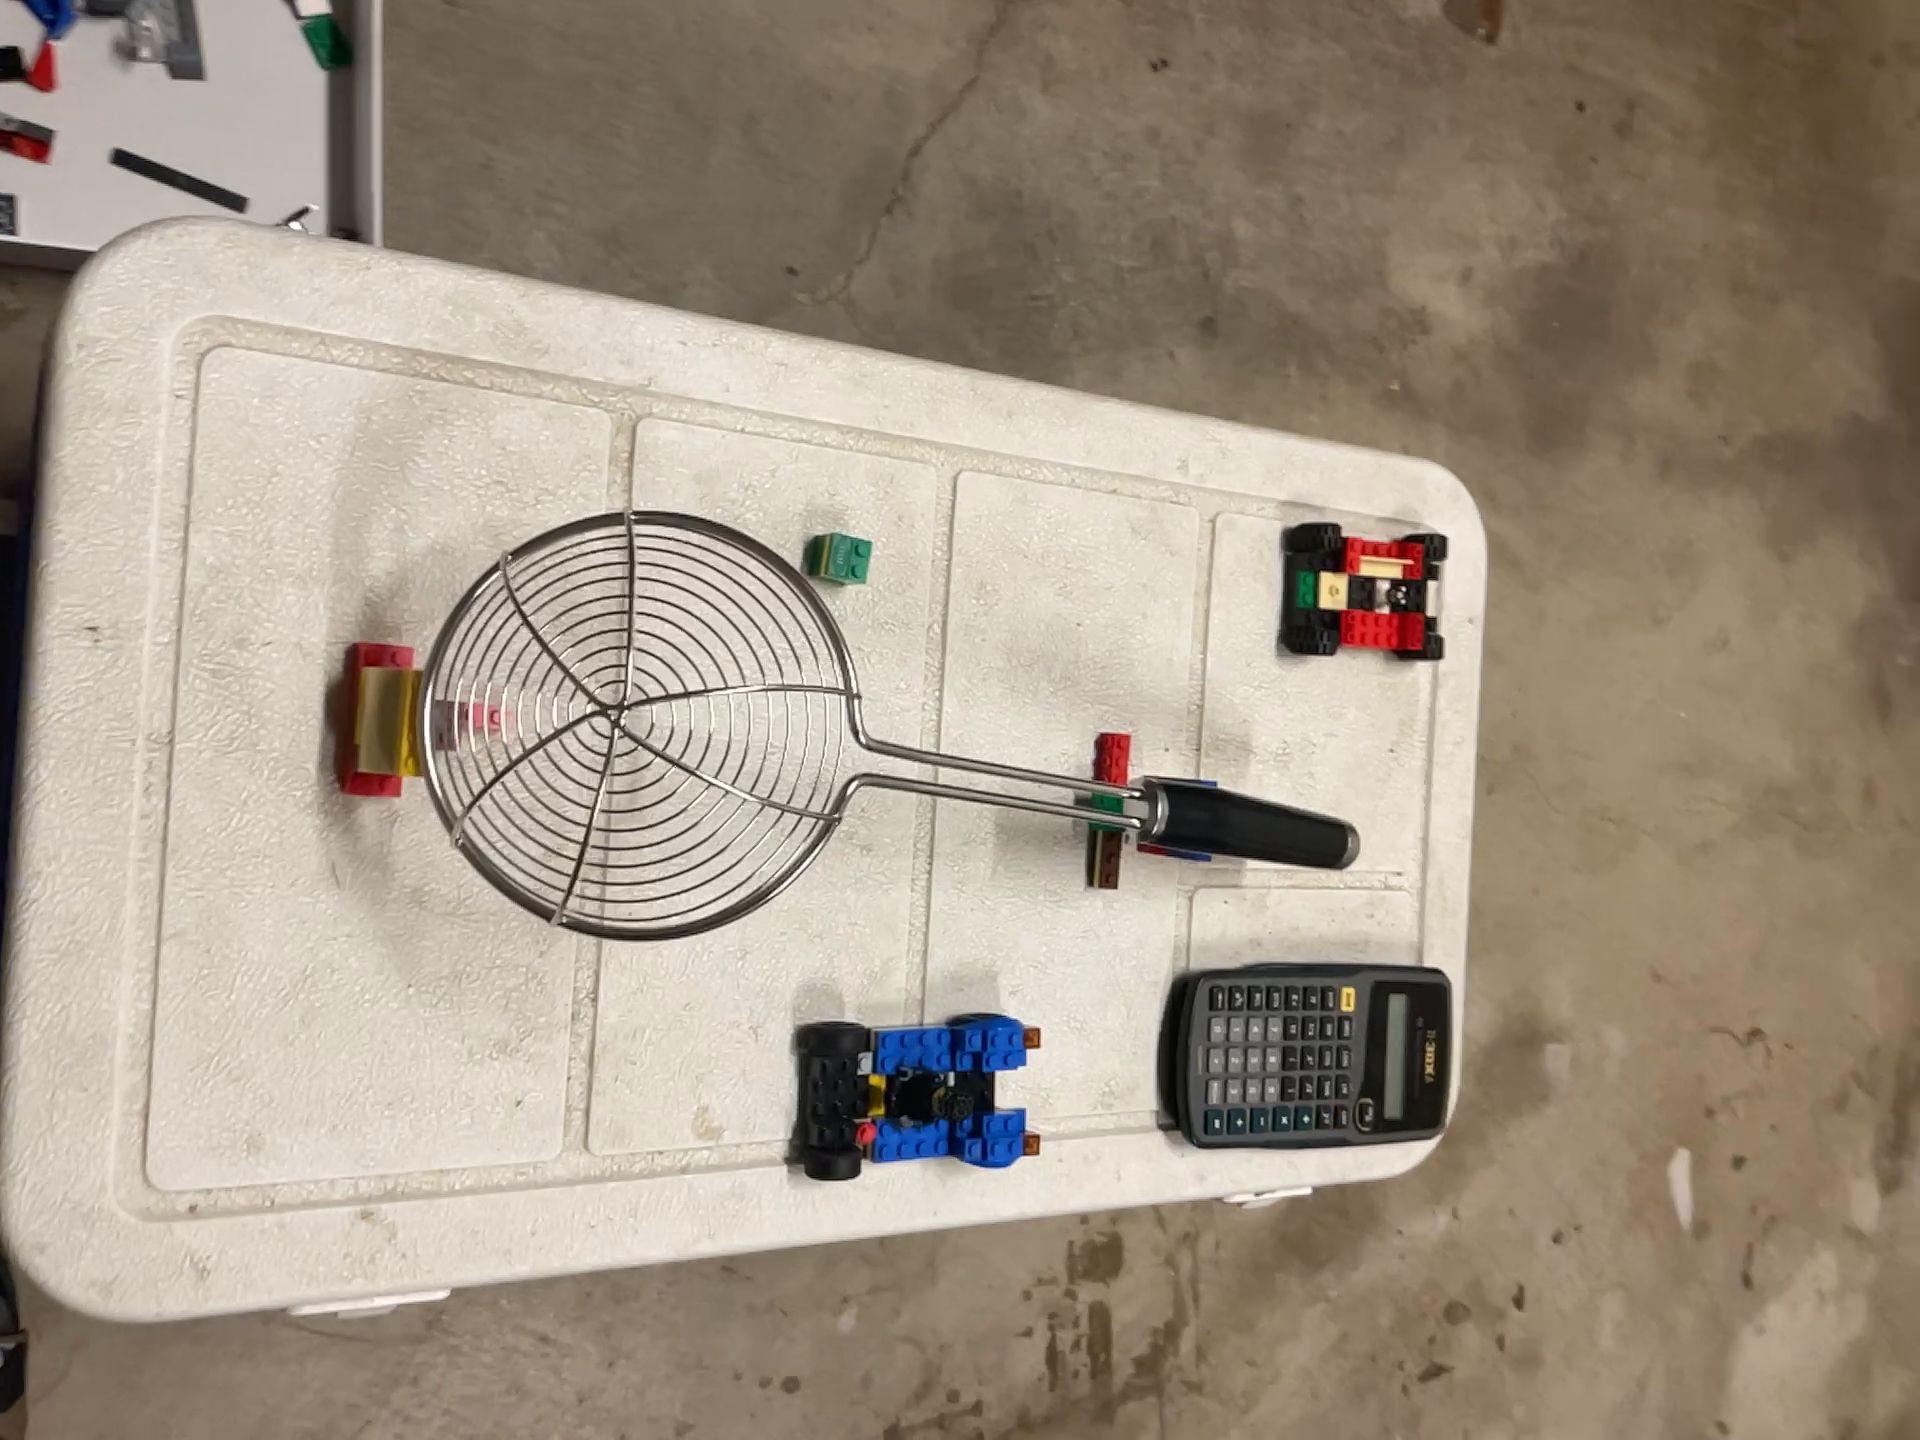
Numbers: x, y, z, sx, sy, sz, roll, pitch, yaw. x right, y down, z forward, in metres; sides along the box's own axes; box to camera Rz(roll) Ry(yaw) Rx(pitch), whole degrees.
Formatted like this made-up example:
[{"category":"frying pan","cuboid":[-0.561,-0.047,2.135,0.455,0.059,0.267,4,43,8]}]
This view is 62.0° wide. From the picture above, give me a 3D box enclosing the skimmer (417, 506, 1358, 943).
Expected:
[{"category":"skimmer","cuboid":[0.003,0.021,0.555,0.363,0.090,0.127,12,84,-42]}]
